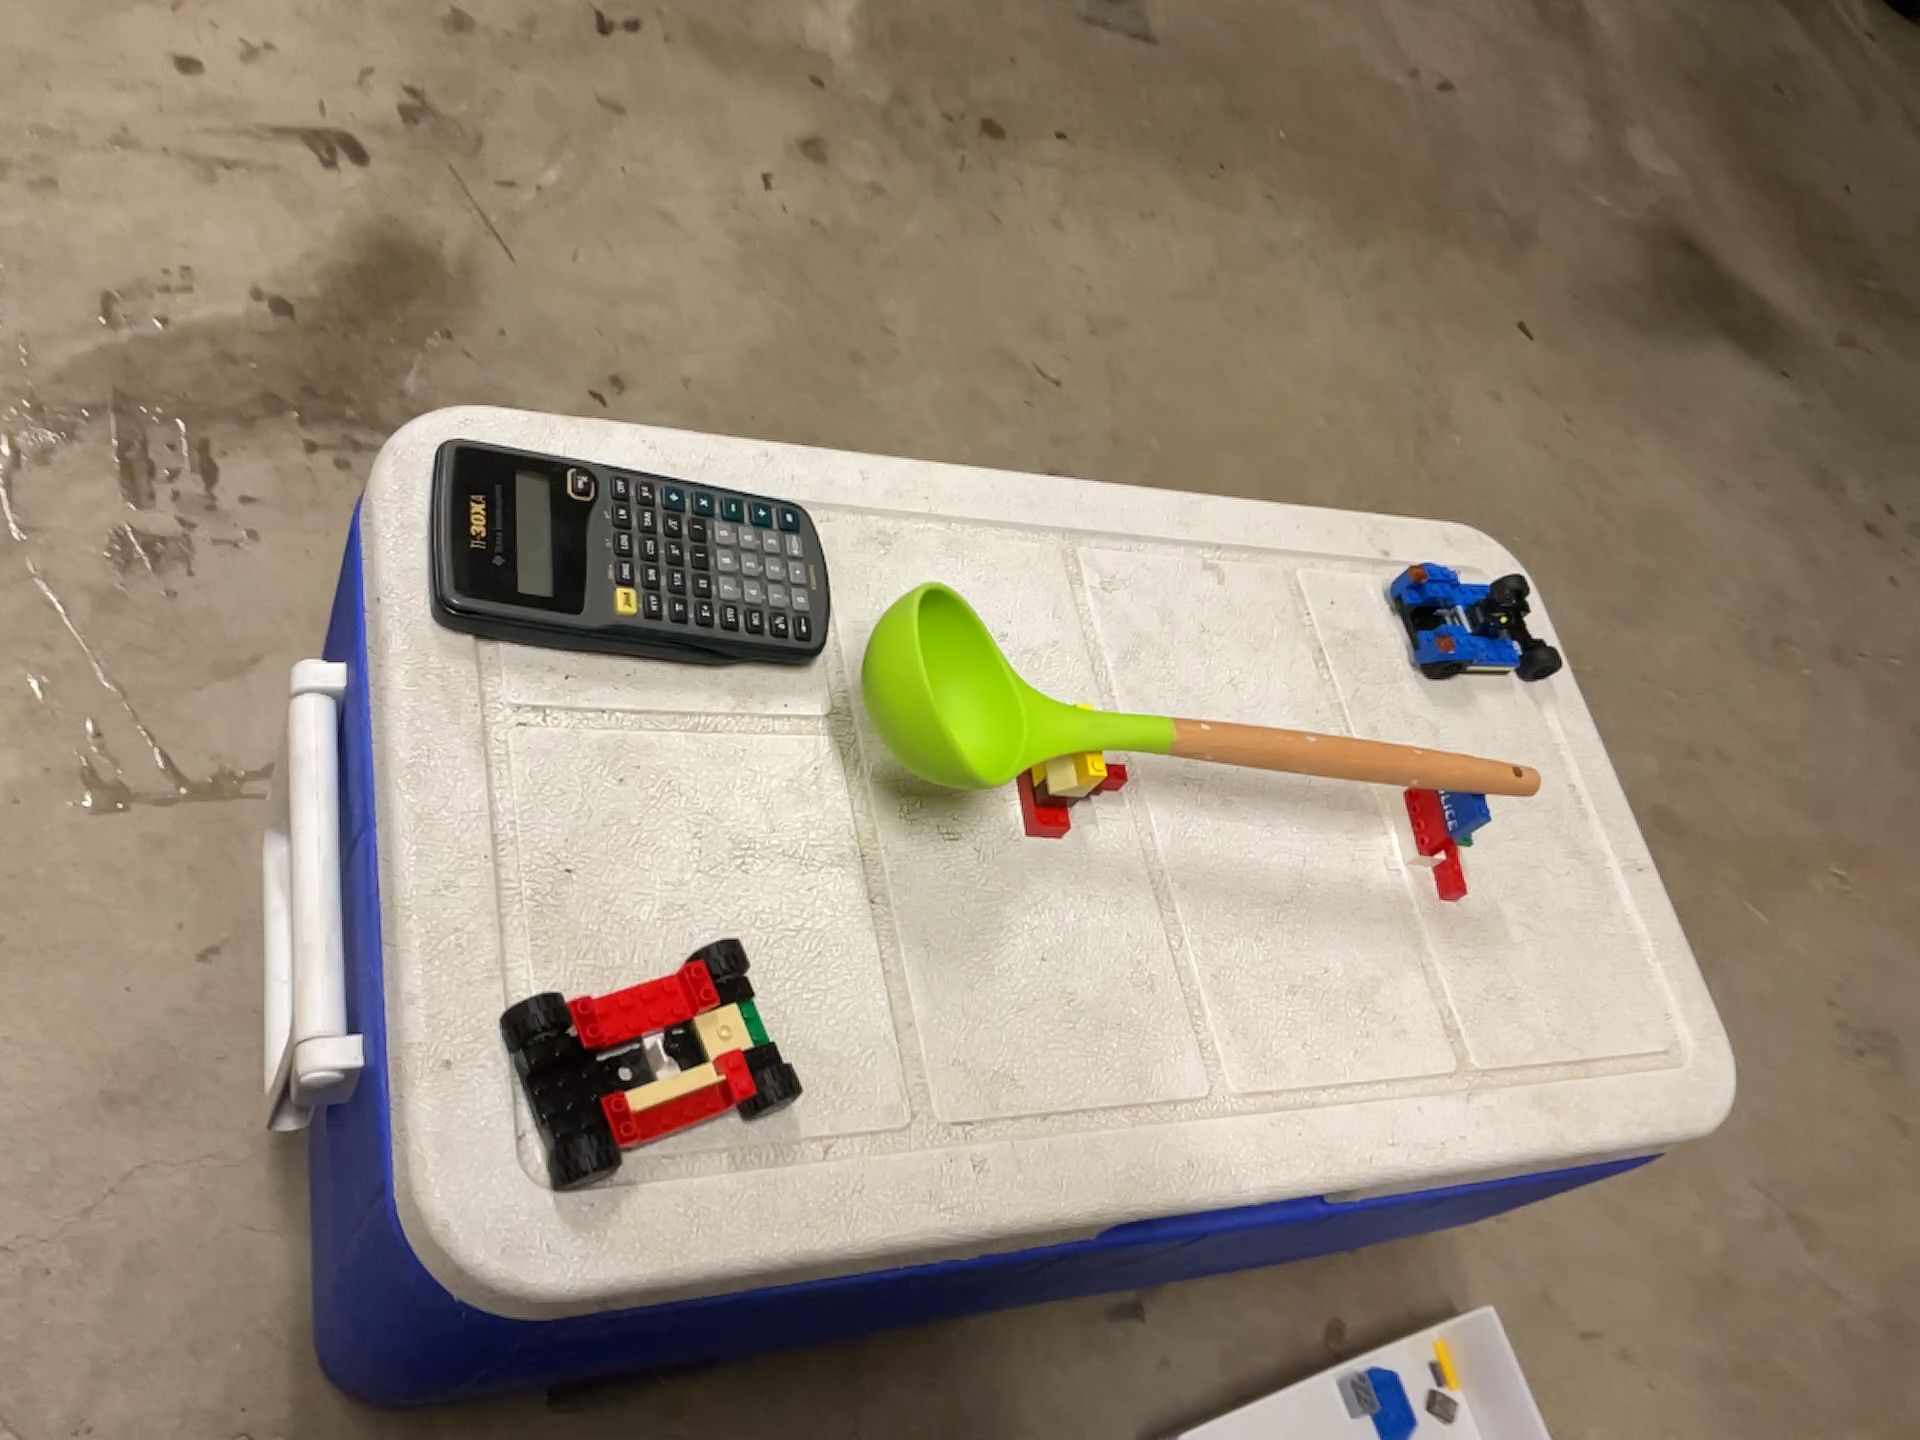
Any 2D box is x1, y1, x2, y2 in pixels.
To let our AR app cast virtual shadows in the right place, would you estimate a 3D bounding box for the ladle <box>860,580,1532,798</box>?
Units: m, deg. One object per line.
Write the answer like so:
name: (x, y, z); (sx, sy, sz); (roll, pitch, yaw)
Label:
ladle: (0.109, 0.003, 0.636); (0.320, 0.062, 0.078); (7, 58, -23)
